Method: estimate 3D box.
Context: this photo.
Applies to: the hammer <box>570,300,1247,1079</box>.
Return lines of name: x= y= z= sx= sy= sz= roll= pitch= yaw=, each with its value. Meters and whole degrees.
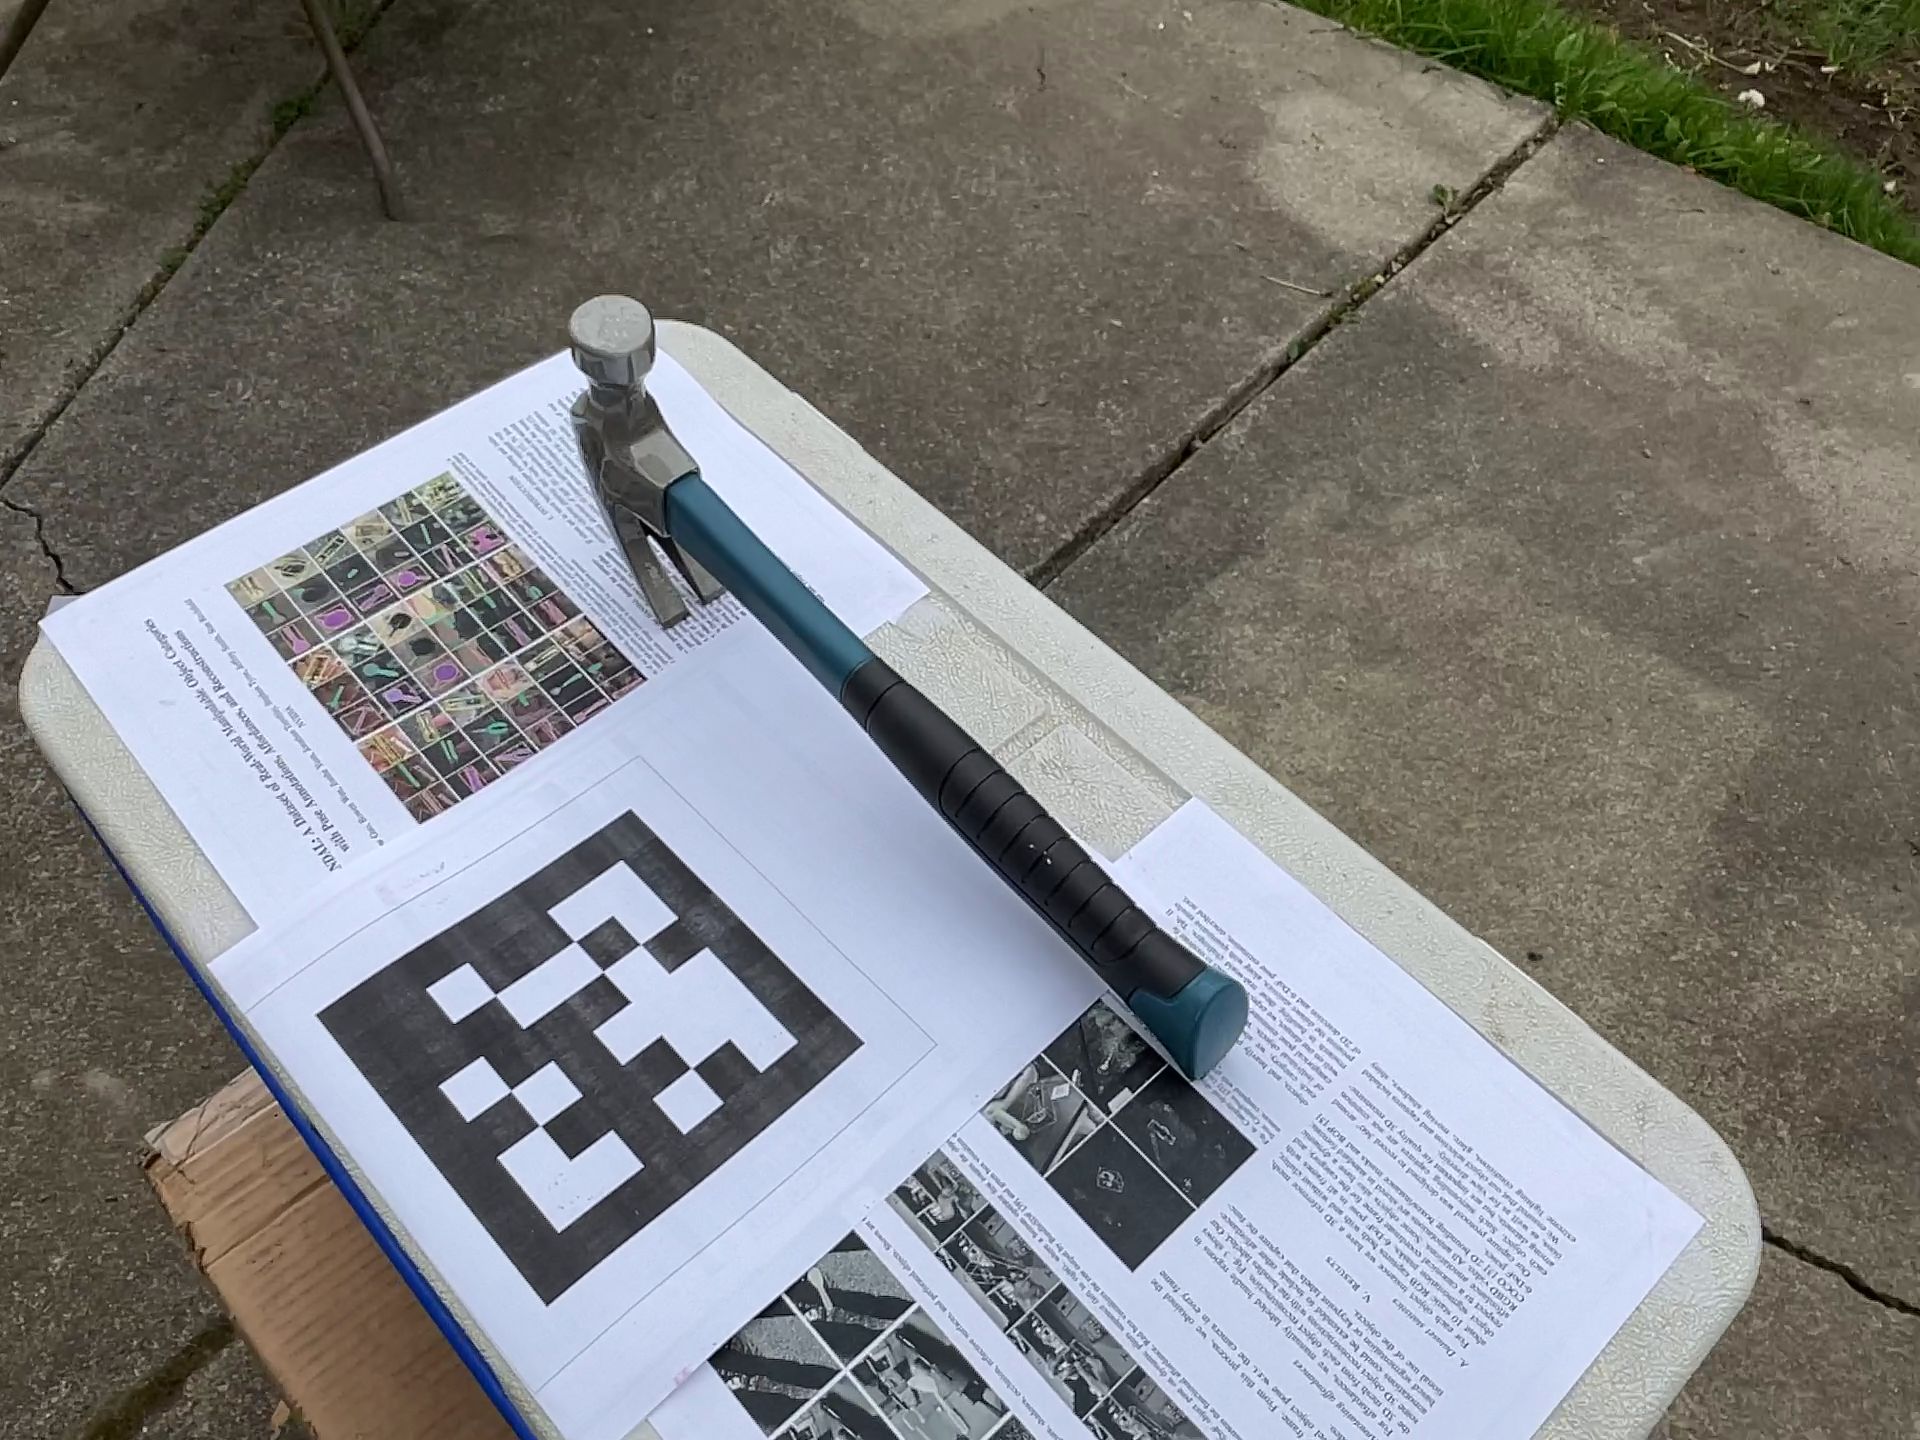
hammer: x=-0.026 y=-0.004 z=0.567 sx=0.033 sy=0.128 sz=0.331 roll=-38 pitch=72 yaw=-25
